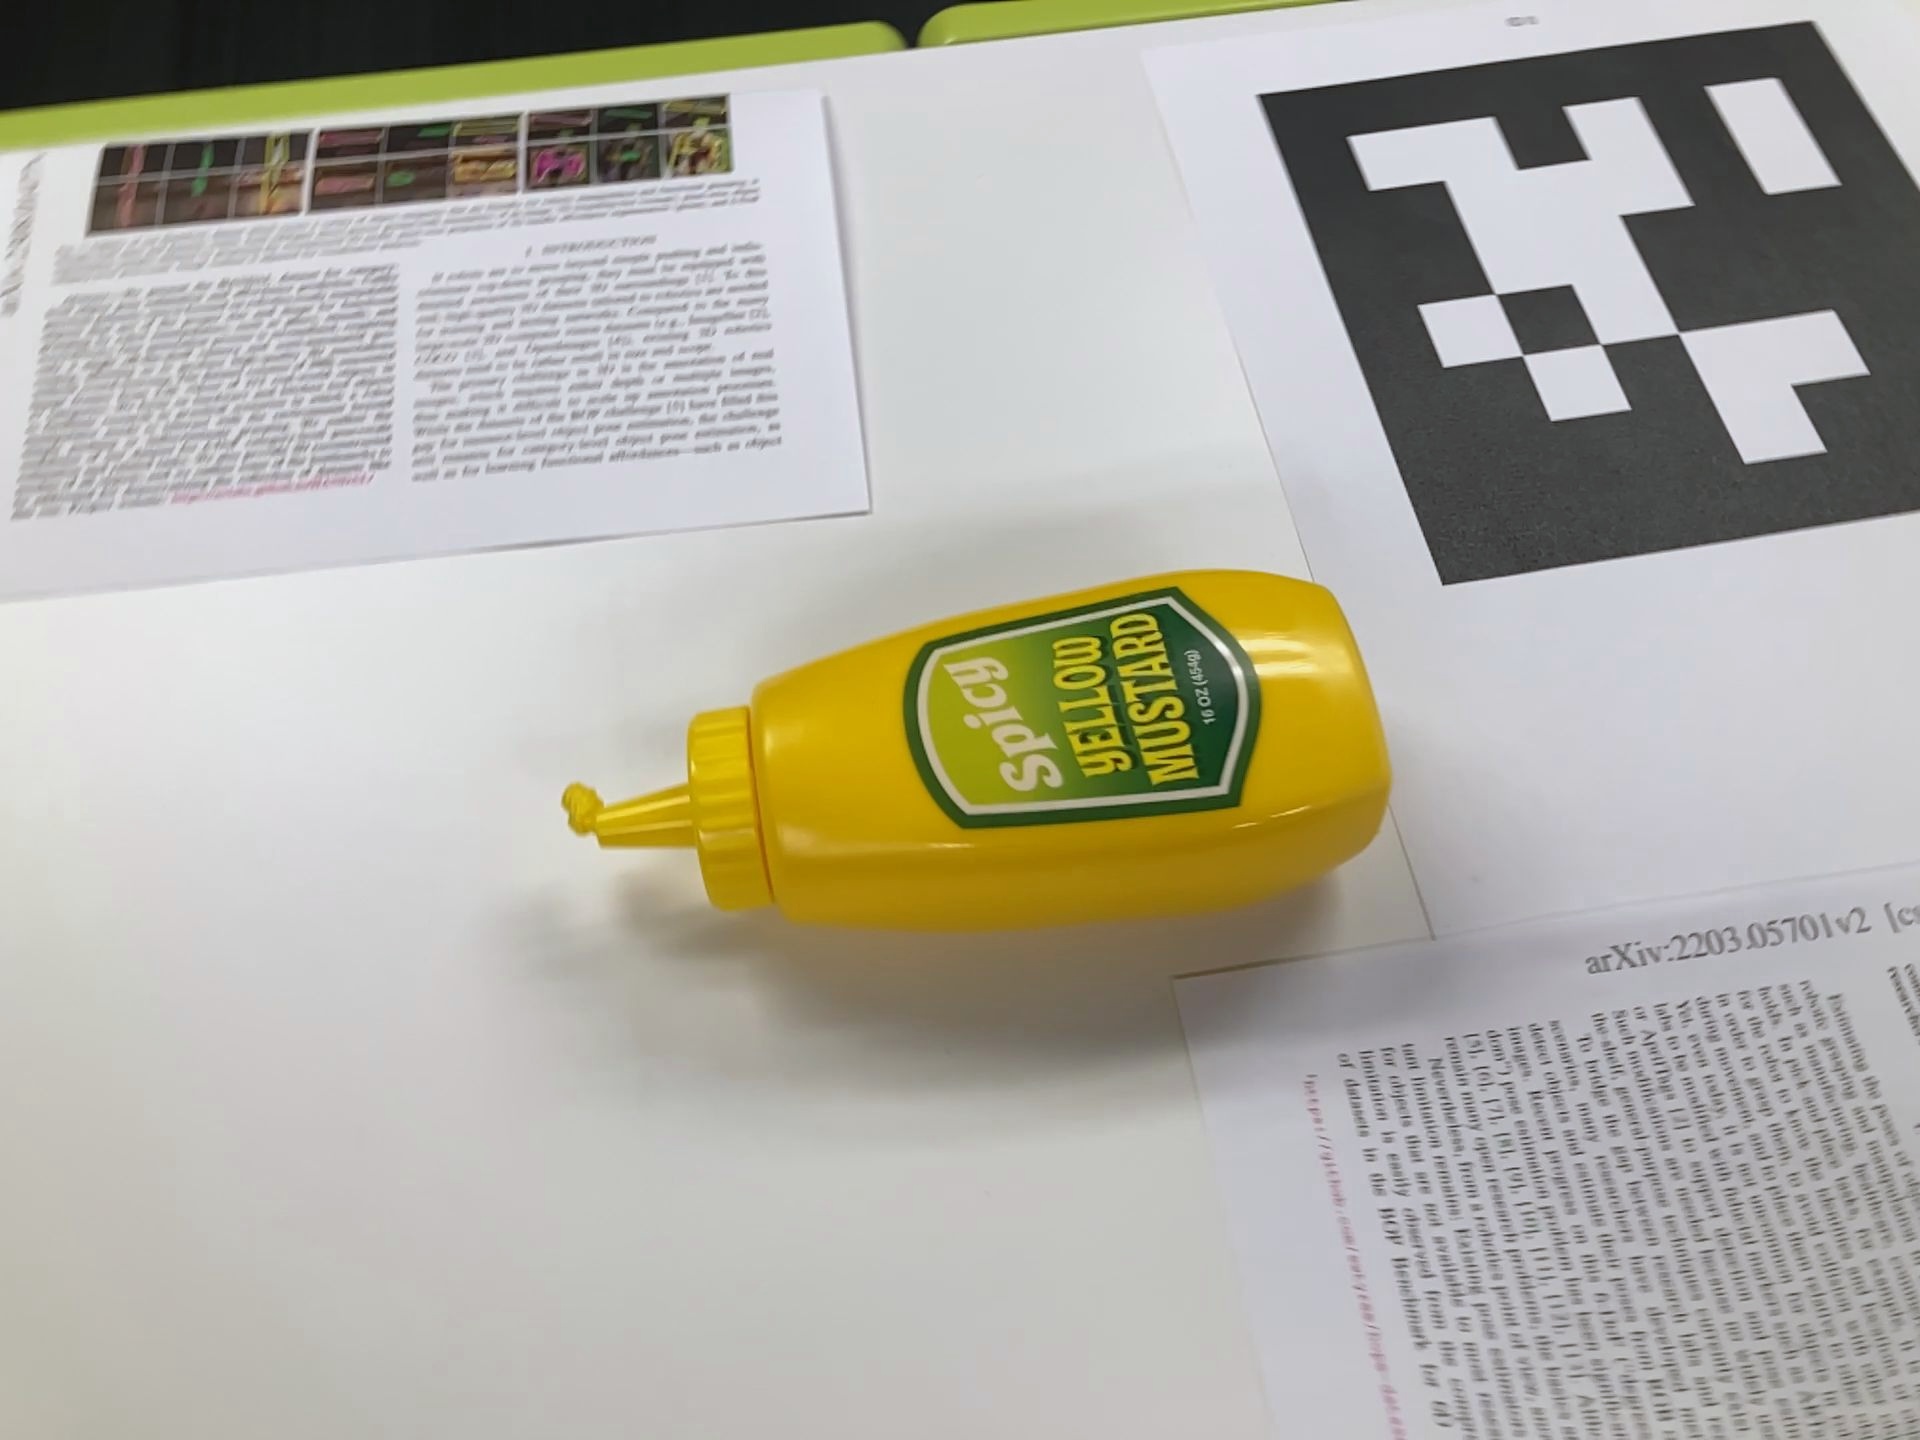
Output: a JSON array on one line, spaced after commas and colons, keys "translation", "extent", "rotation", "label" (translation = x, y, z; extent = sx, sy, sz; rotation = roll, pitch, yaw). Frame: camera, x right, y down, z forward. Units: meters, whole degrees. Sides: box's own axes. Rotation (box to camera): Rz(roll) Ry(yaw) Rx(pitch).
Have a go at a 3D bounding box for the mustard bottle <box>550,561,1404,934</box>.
[{"translation": [0.001, 0.011, 0.307], "extent": [0.160, 0.049, 0.065], "rotation": [-10, 61, -5], "label": "mustard bottle"}]
